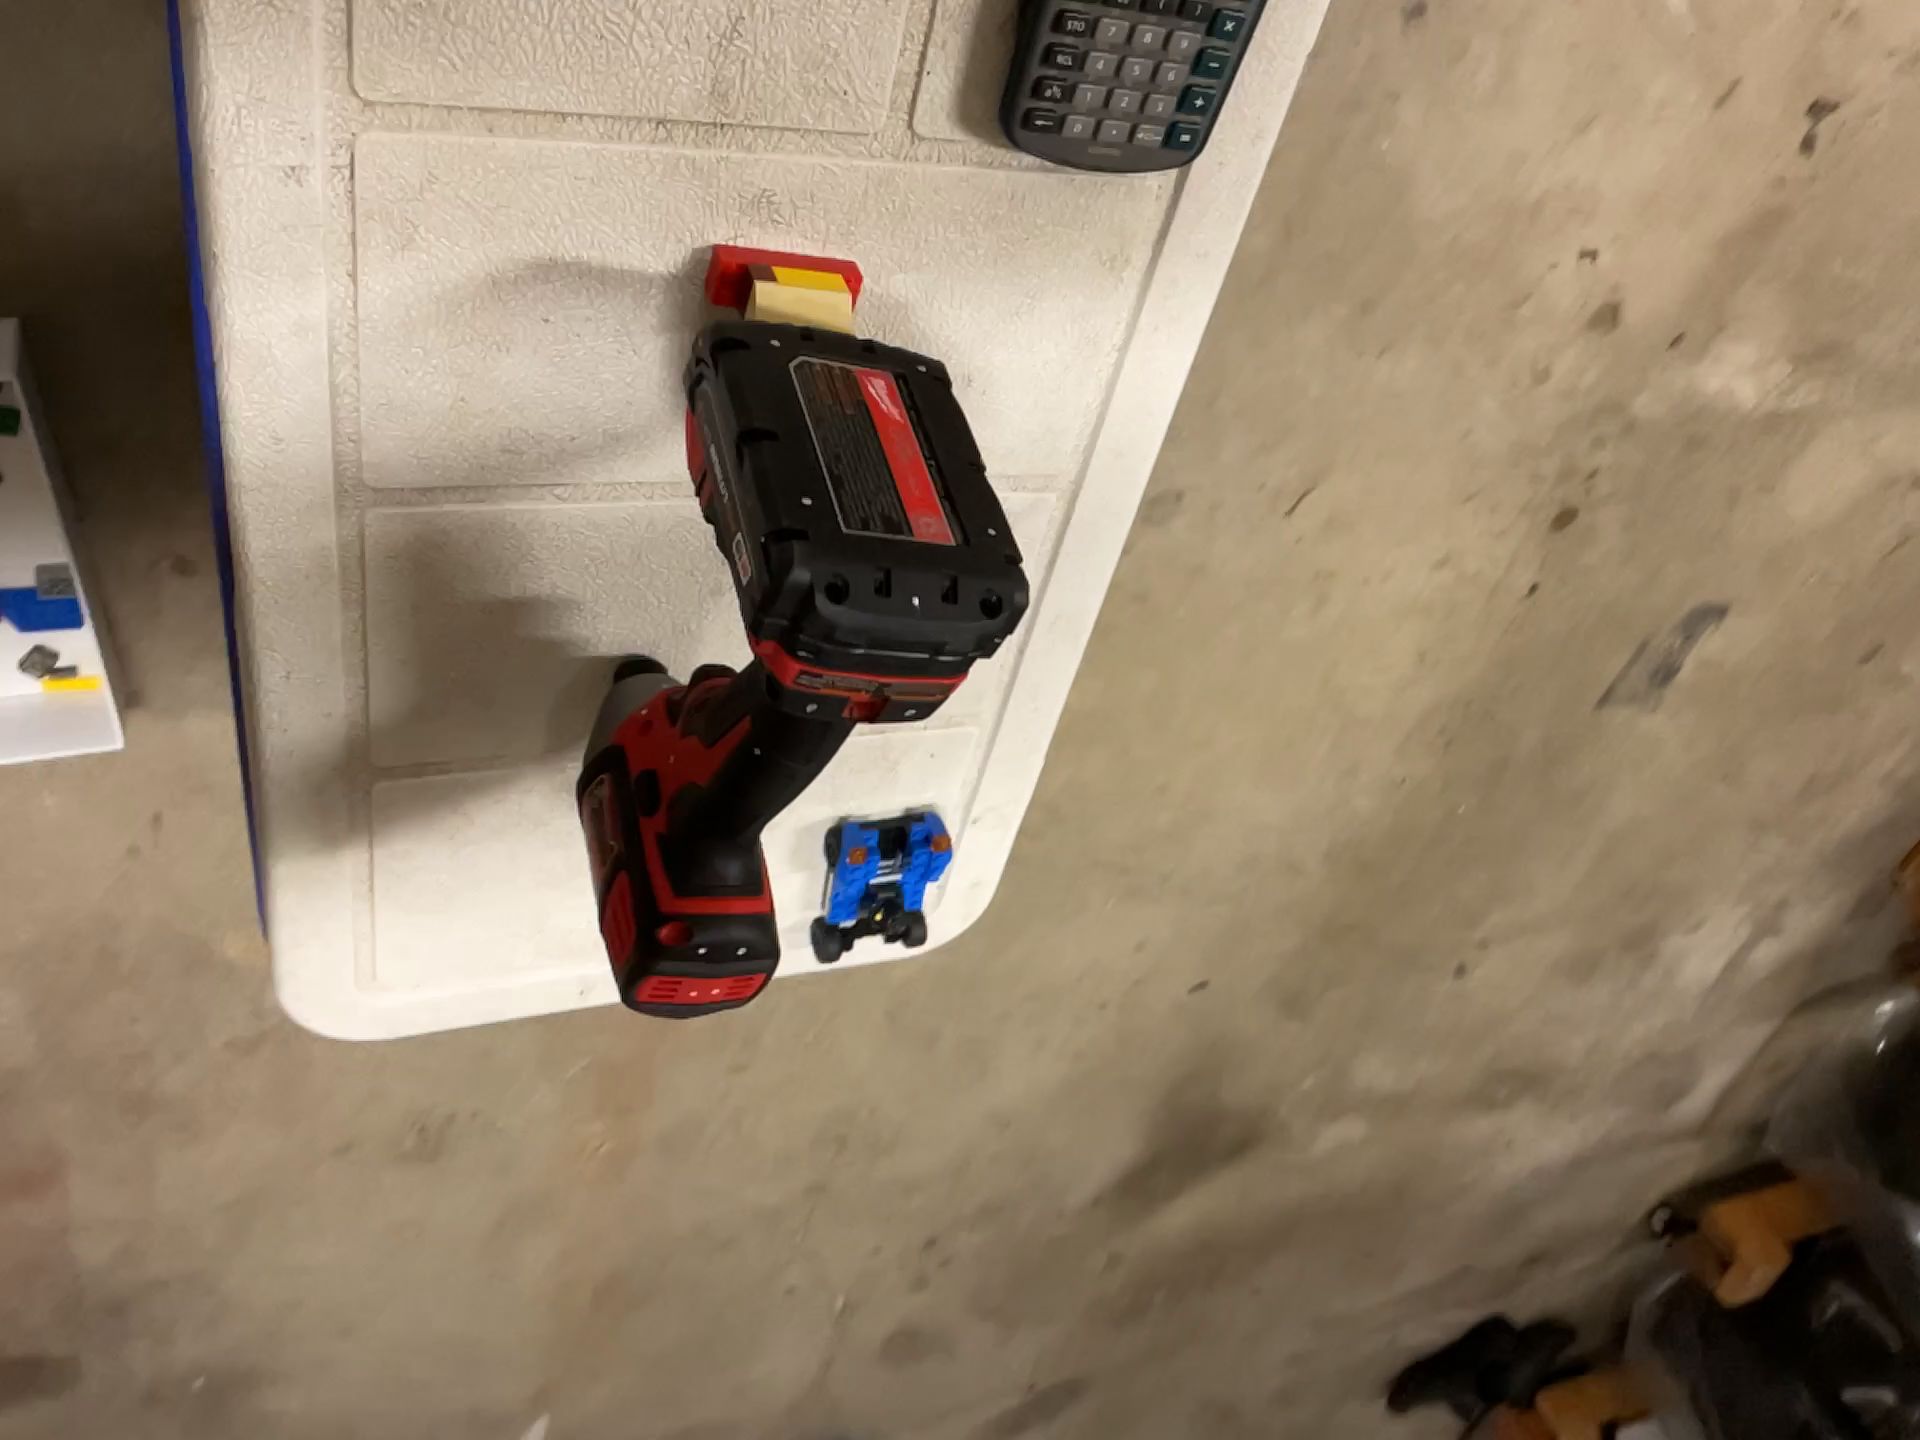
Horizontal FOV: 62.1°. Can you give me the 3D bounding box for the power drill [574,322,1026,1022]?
[{"bbox_3d":[-0.072,-0.013,0.525,0.078,0.143,0.219,4,139,-30],"label":"power drill"}]
